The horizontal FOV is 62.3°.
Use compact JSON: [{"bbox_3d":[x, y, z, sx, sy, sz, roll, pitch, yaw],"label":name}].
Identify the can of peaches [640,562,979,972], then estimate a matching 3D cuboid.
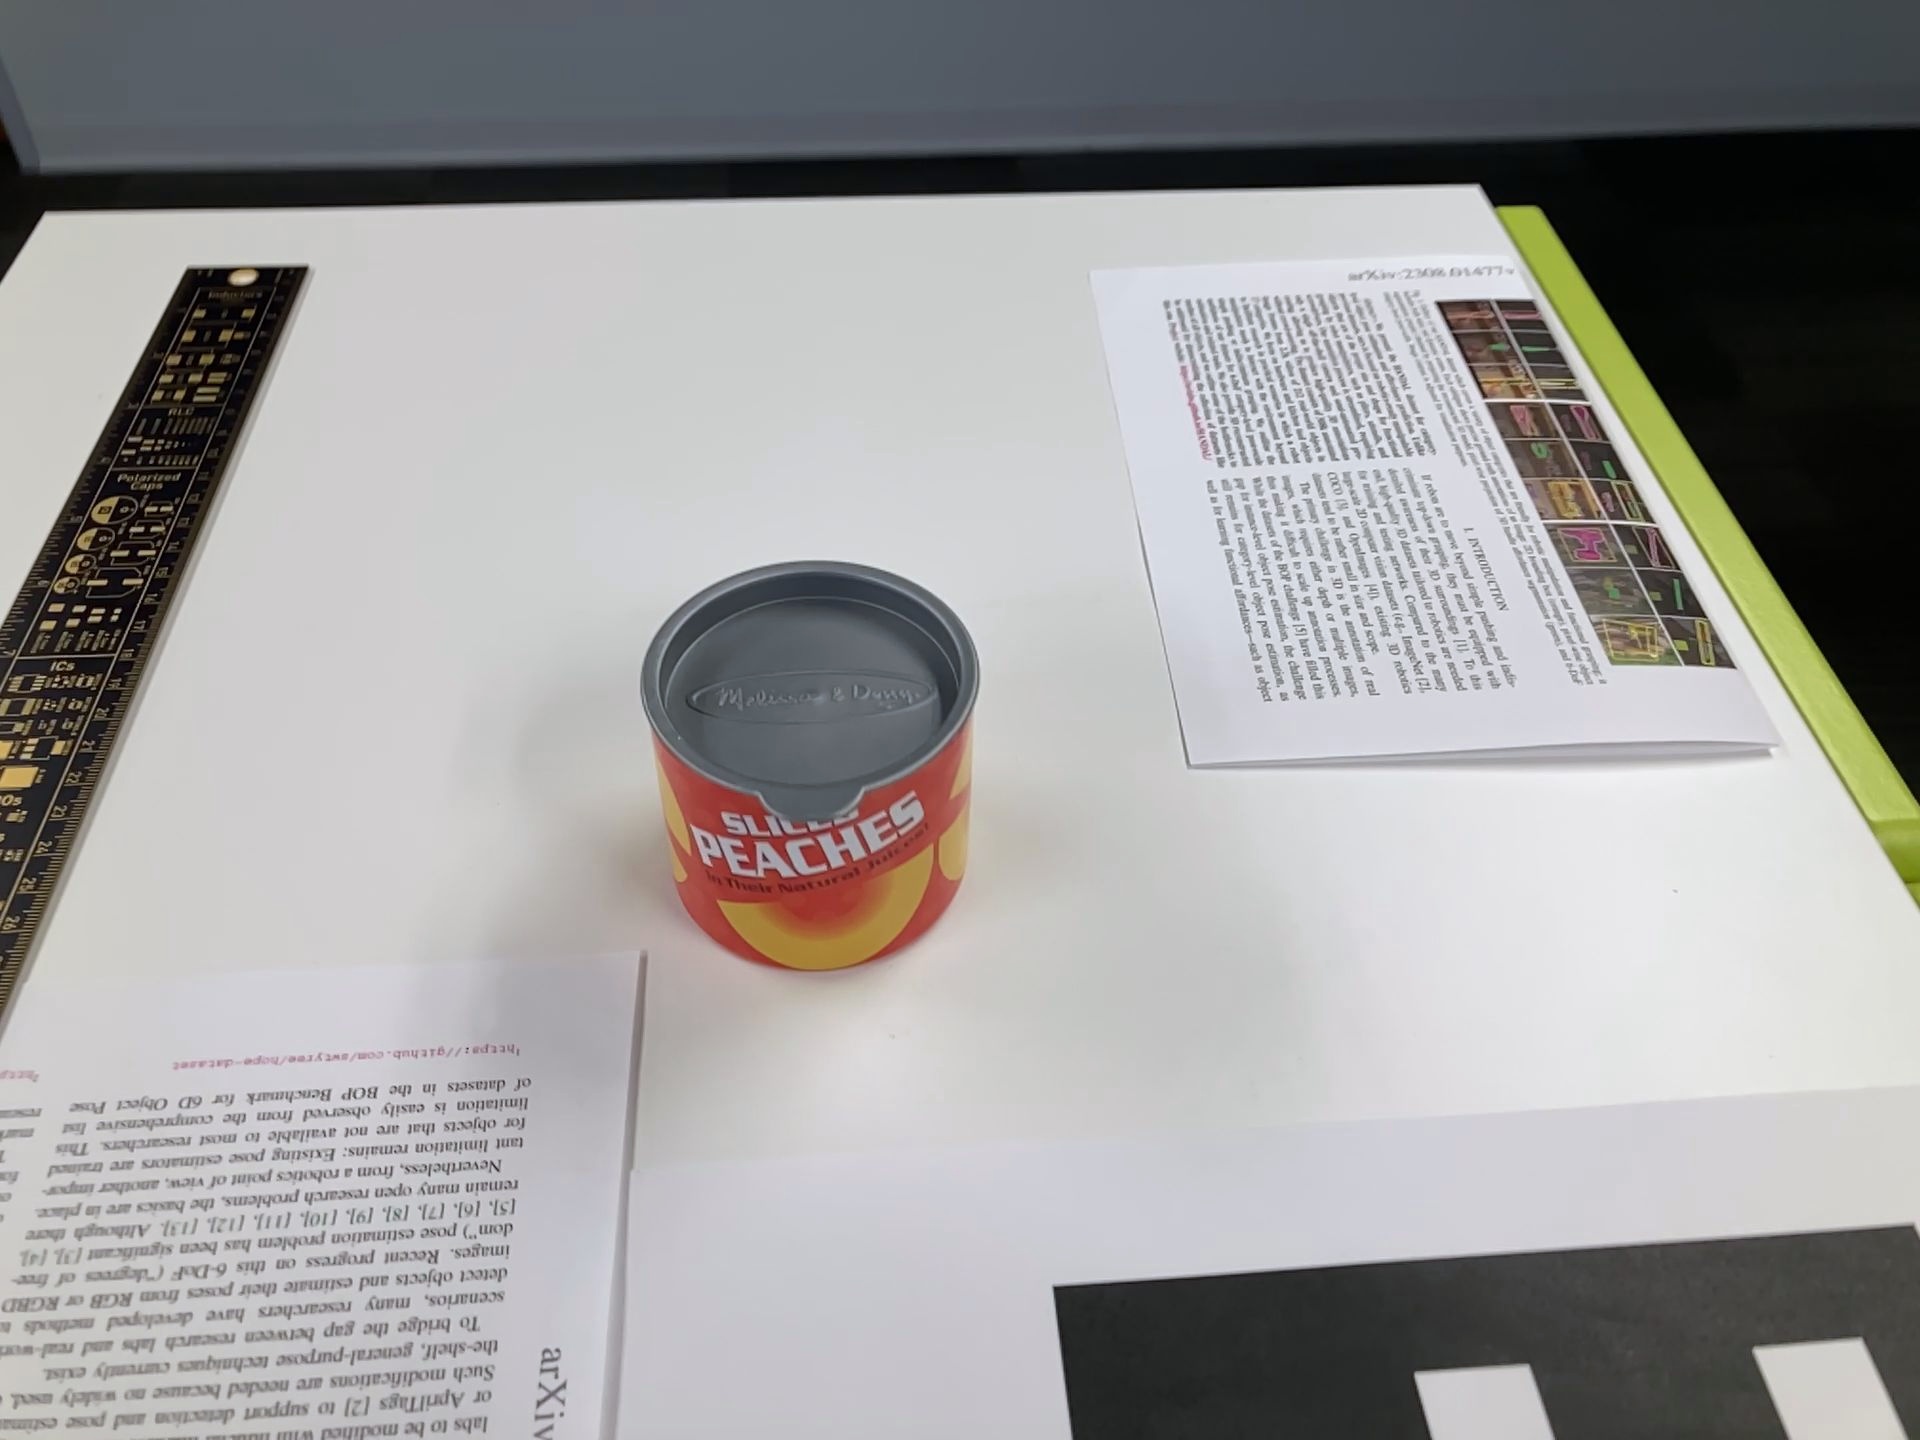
[{"bbox_3d":[-0.030,0.012,0.330,0.071,0.058,0.071,1,47,-1],"label":"can of peaches"}]
